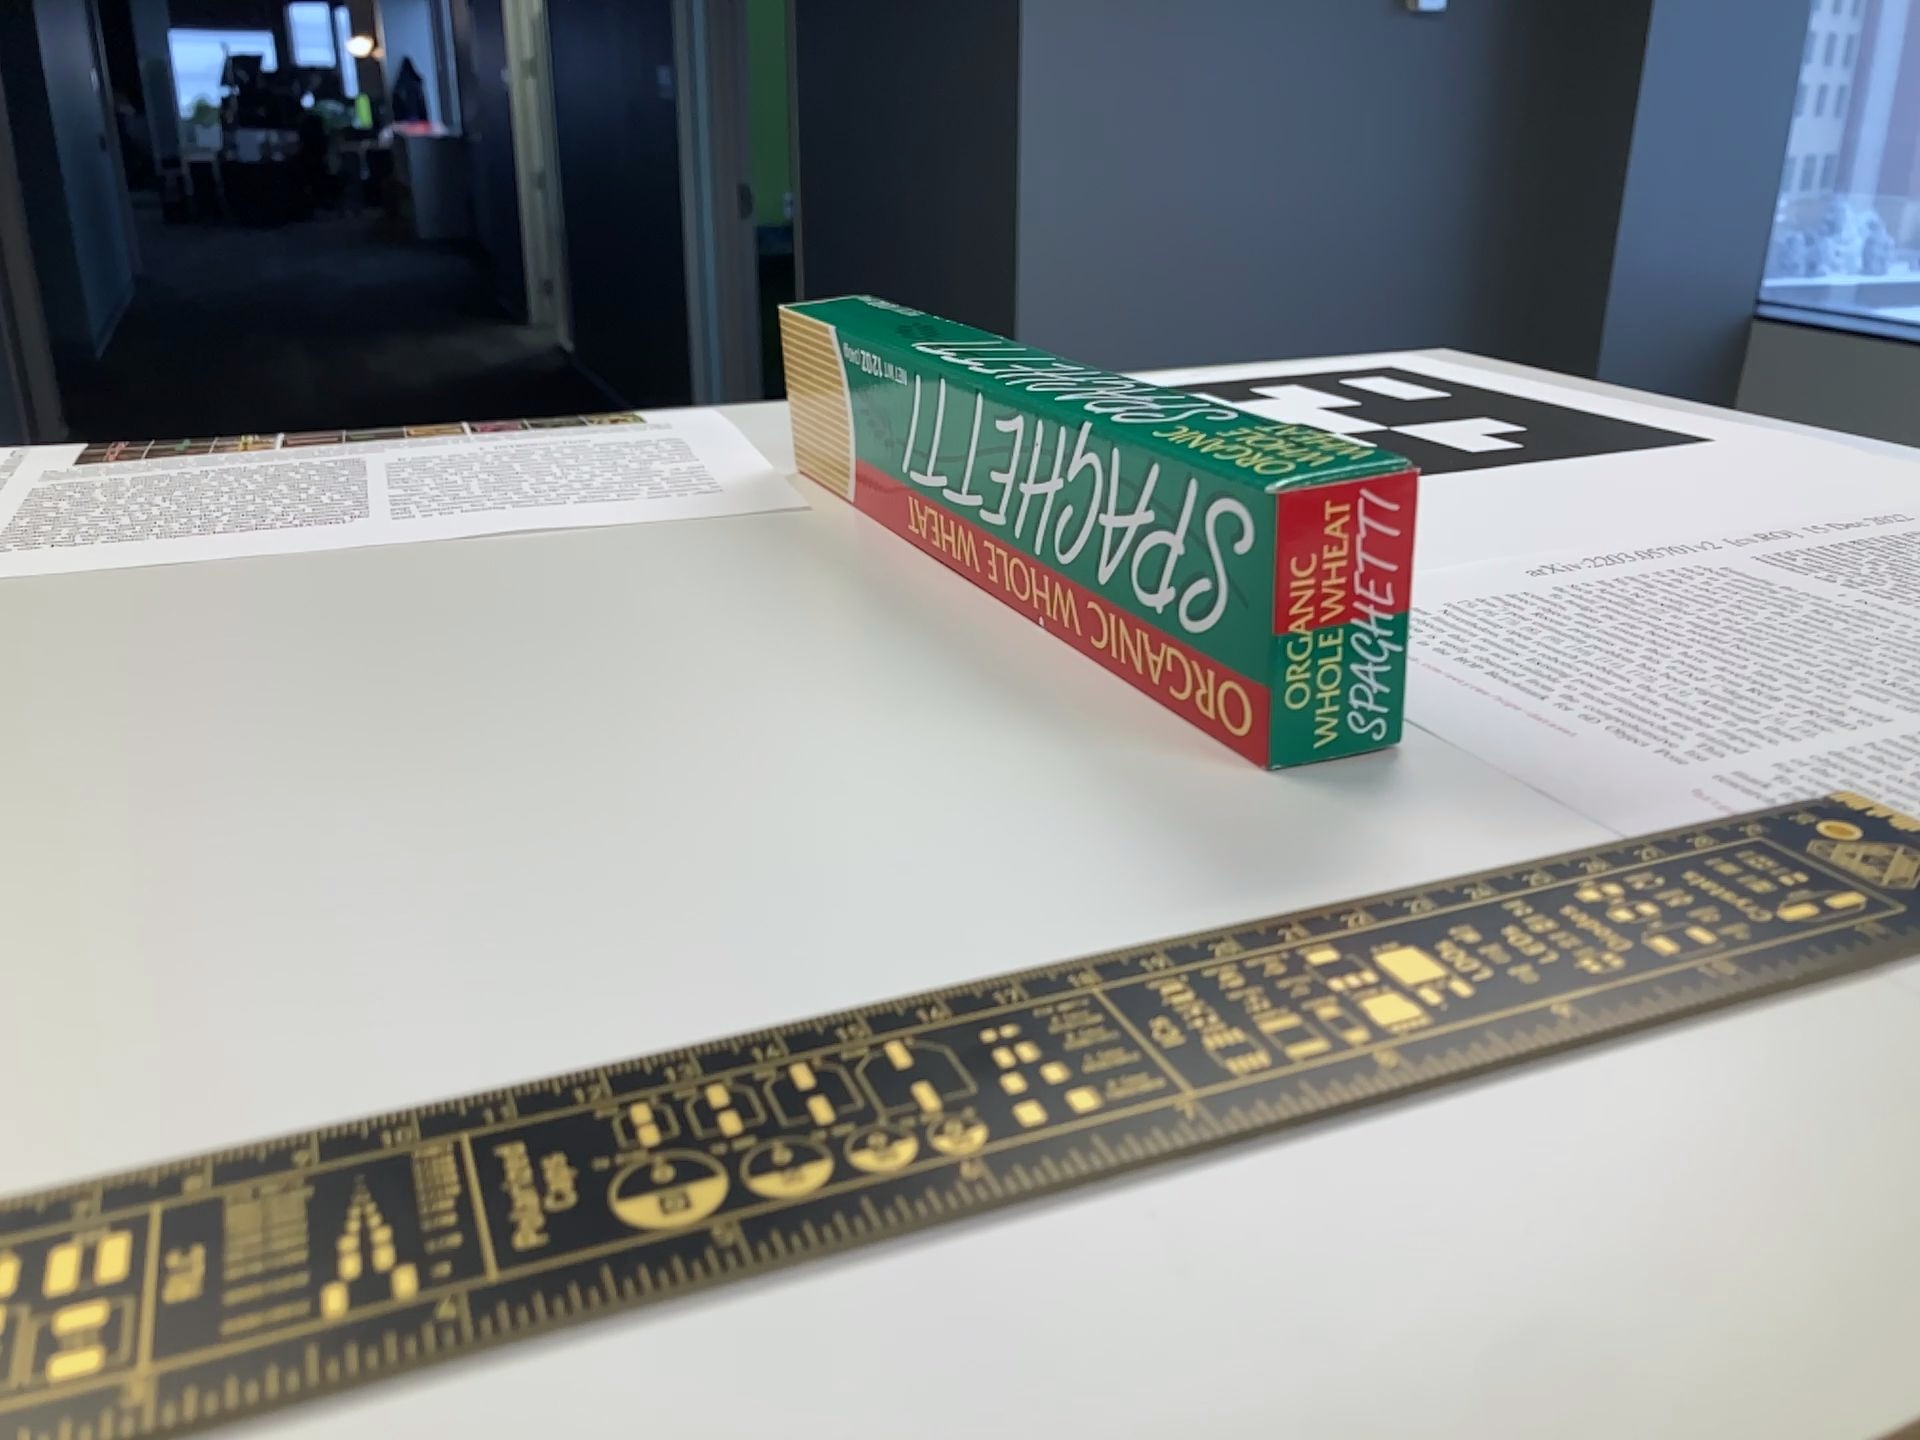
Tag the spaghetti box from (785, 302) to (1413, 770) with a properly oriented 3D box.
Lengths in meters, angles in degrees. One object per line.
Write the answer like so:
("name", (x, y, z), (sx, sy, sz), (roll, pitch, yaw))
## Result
("spaghetti box", (0.013, -0.056, 0.361), (0.028, 0.050, 0.250), (-13, 25, -20))
